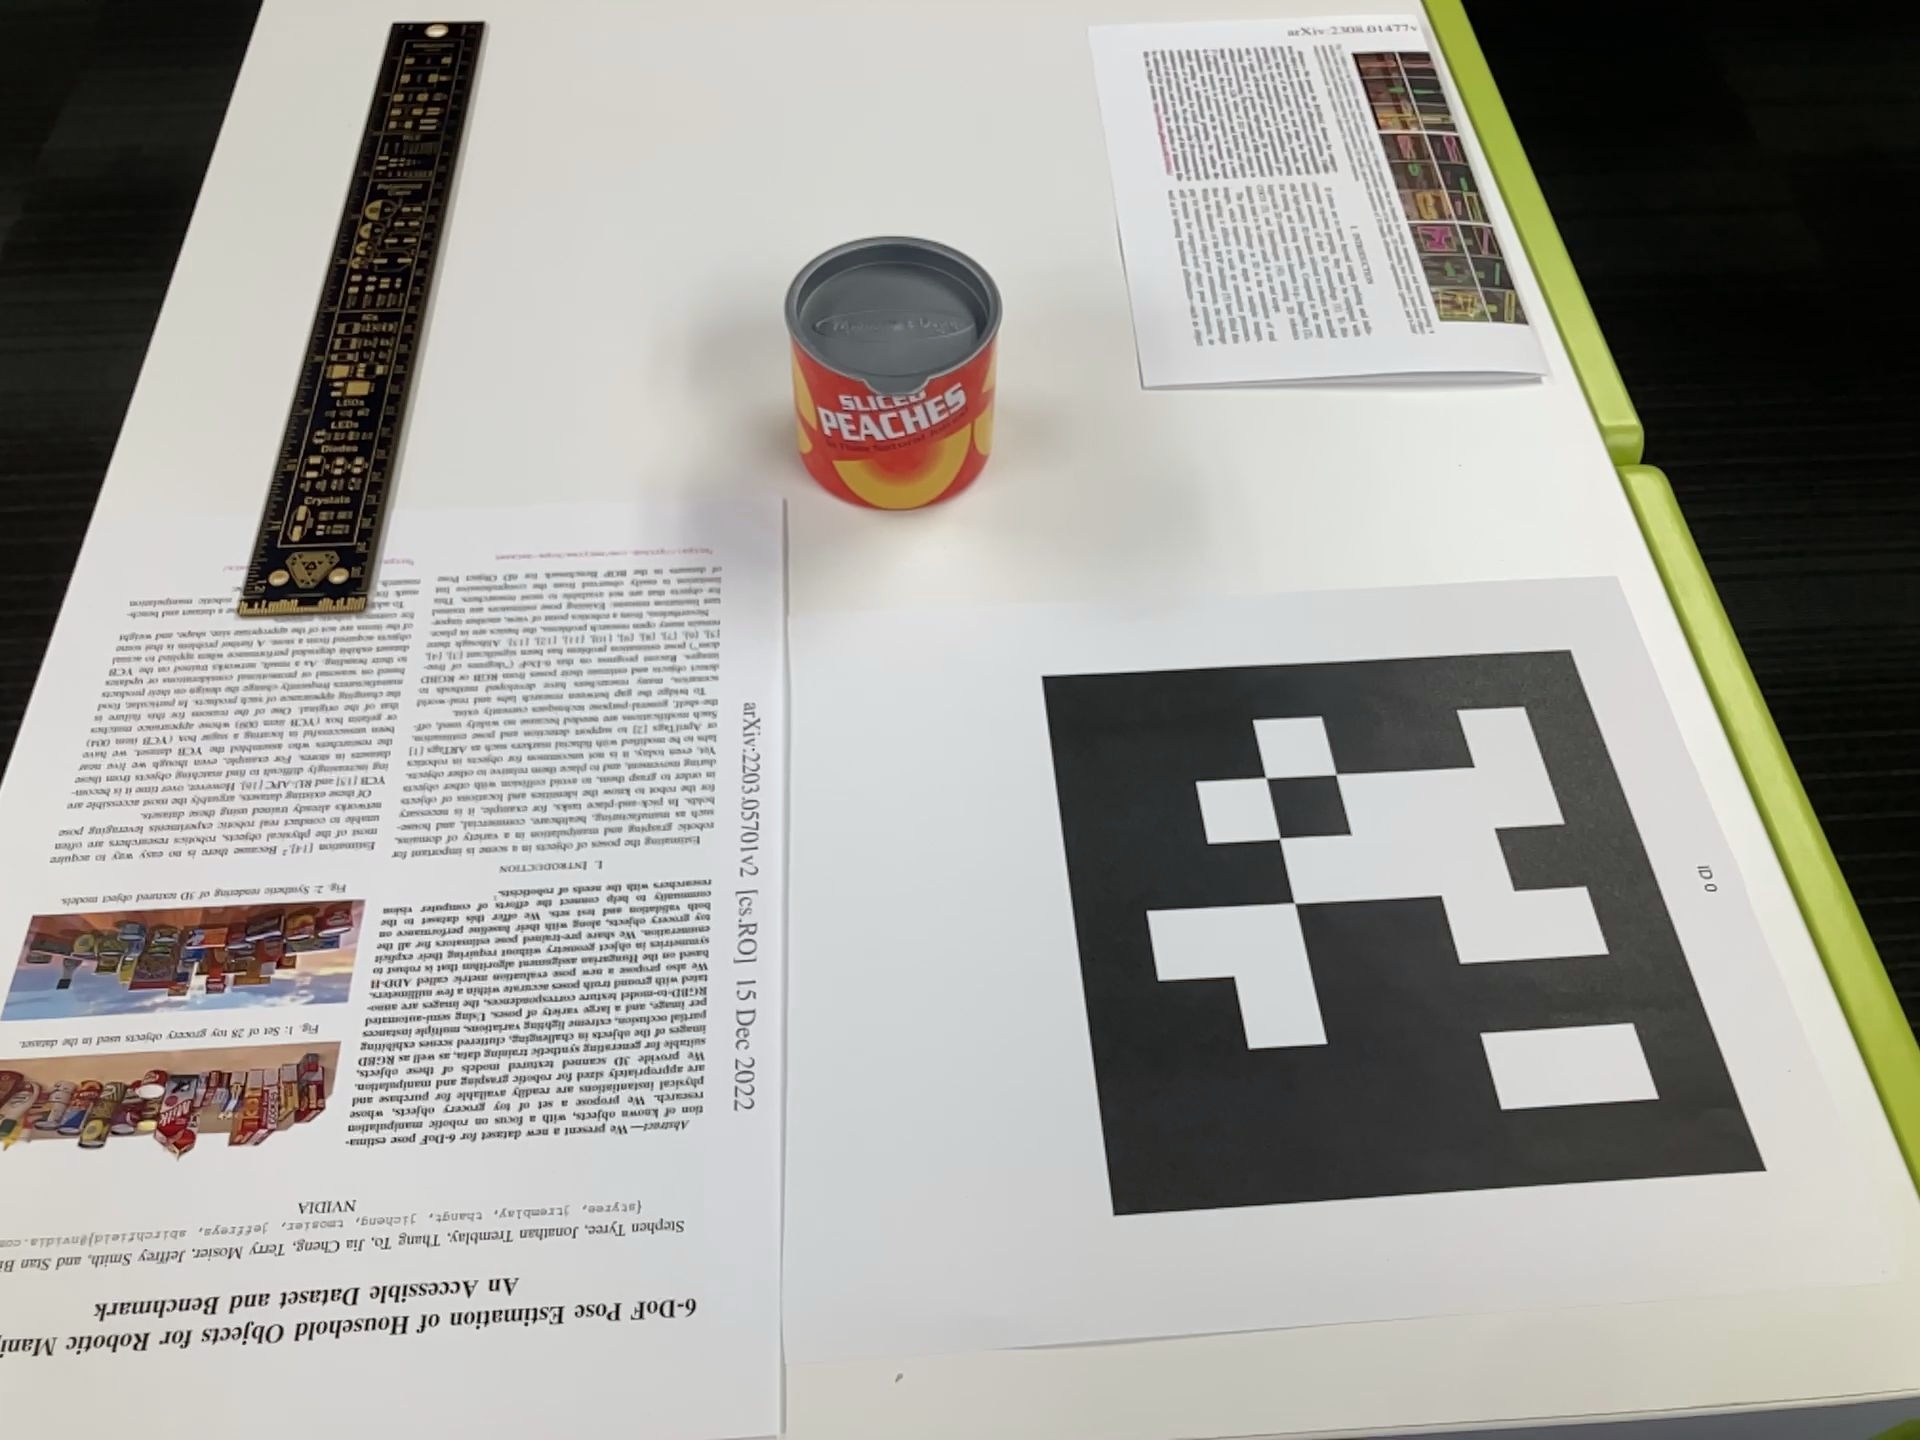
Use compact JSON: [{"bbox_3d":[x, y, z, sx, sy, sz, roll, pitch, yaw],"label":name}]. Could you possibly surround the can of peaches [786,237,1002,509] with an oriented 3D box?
[{"bbox_3d":[-0.021,-0.109,0.508,0.071,0.058,0.071,1,55,-1],"label":"can of peaches"}]
